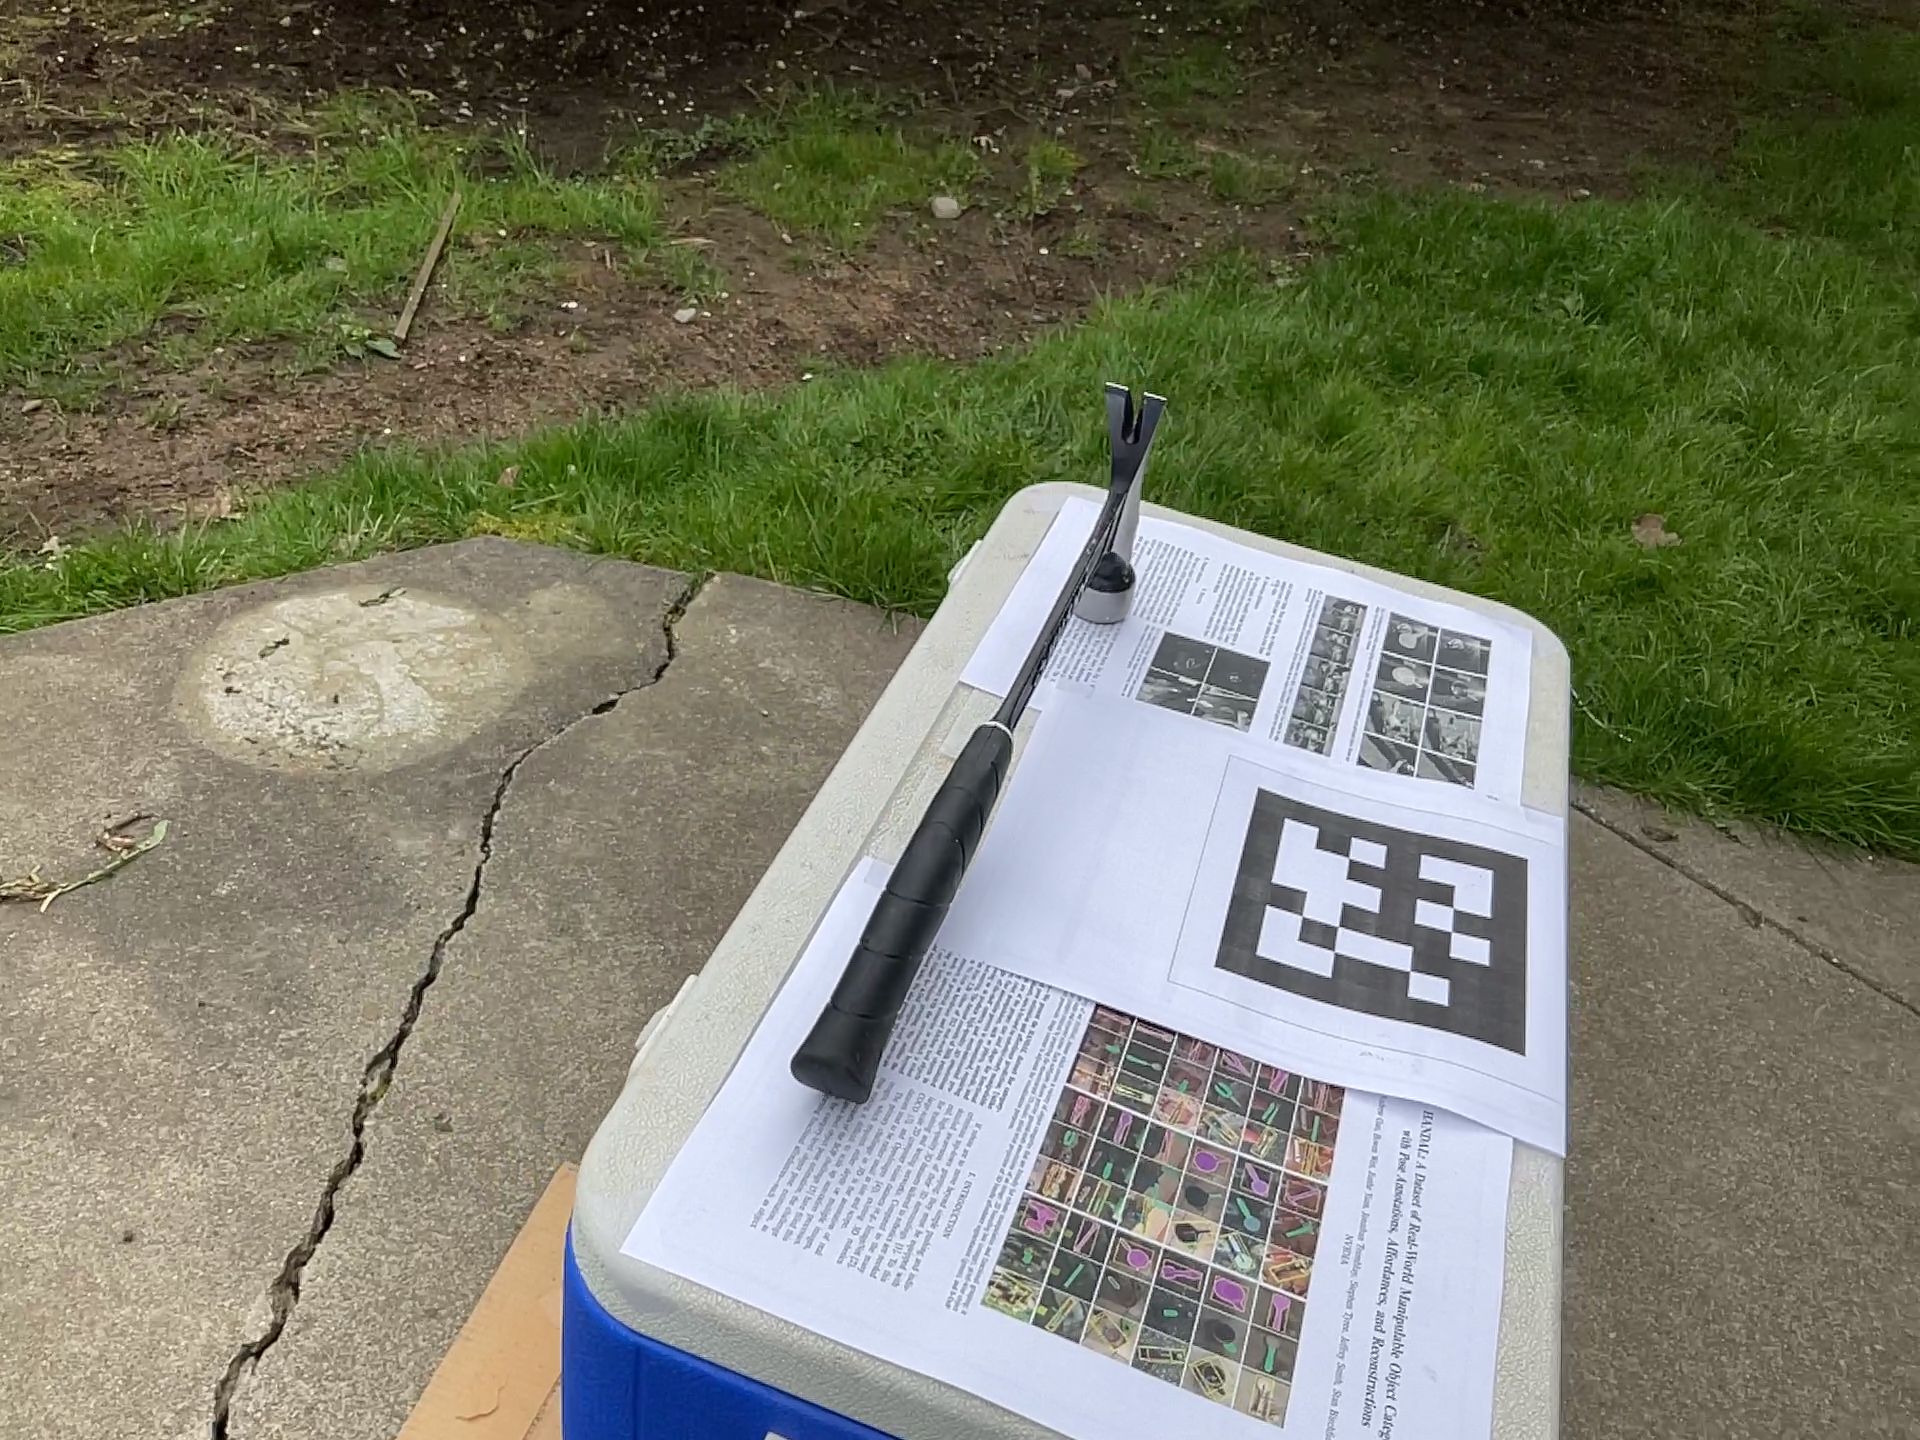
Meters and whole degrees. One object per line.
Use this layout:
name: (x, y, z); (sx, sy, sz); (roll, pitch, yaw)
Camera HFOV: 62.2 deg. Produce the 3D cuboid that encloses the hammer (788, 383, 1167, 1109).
hammer: (0.021, 0.001, 0.698); (0.036, 0.149, 0.409); (17, 44, 11)
